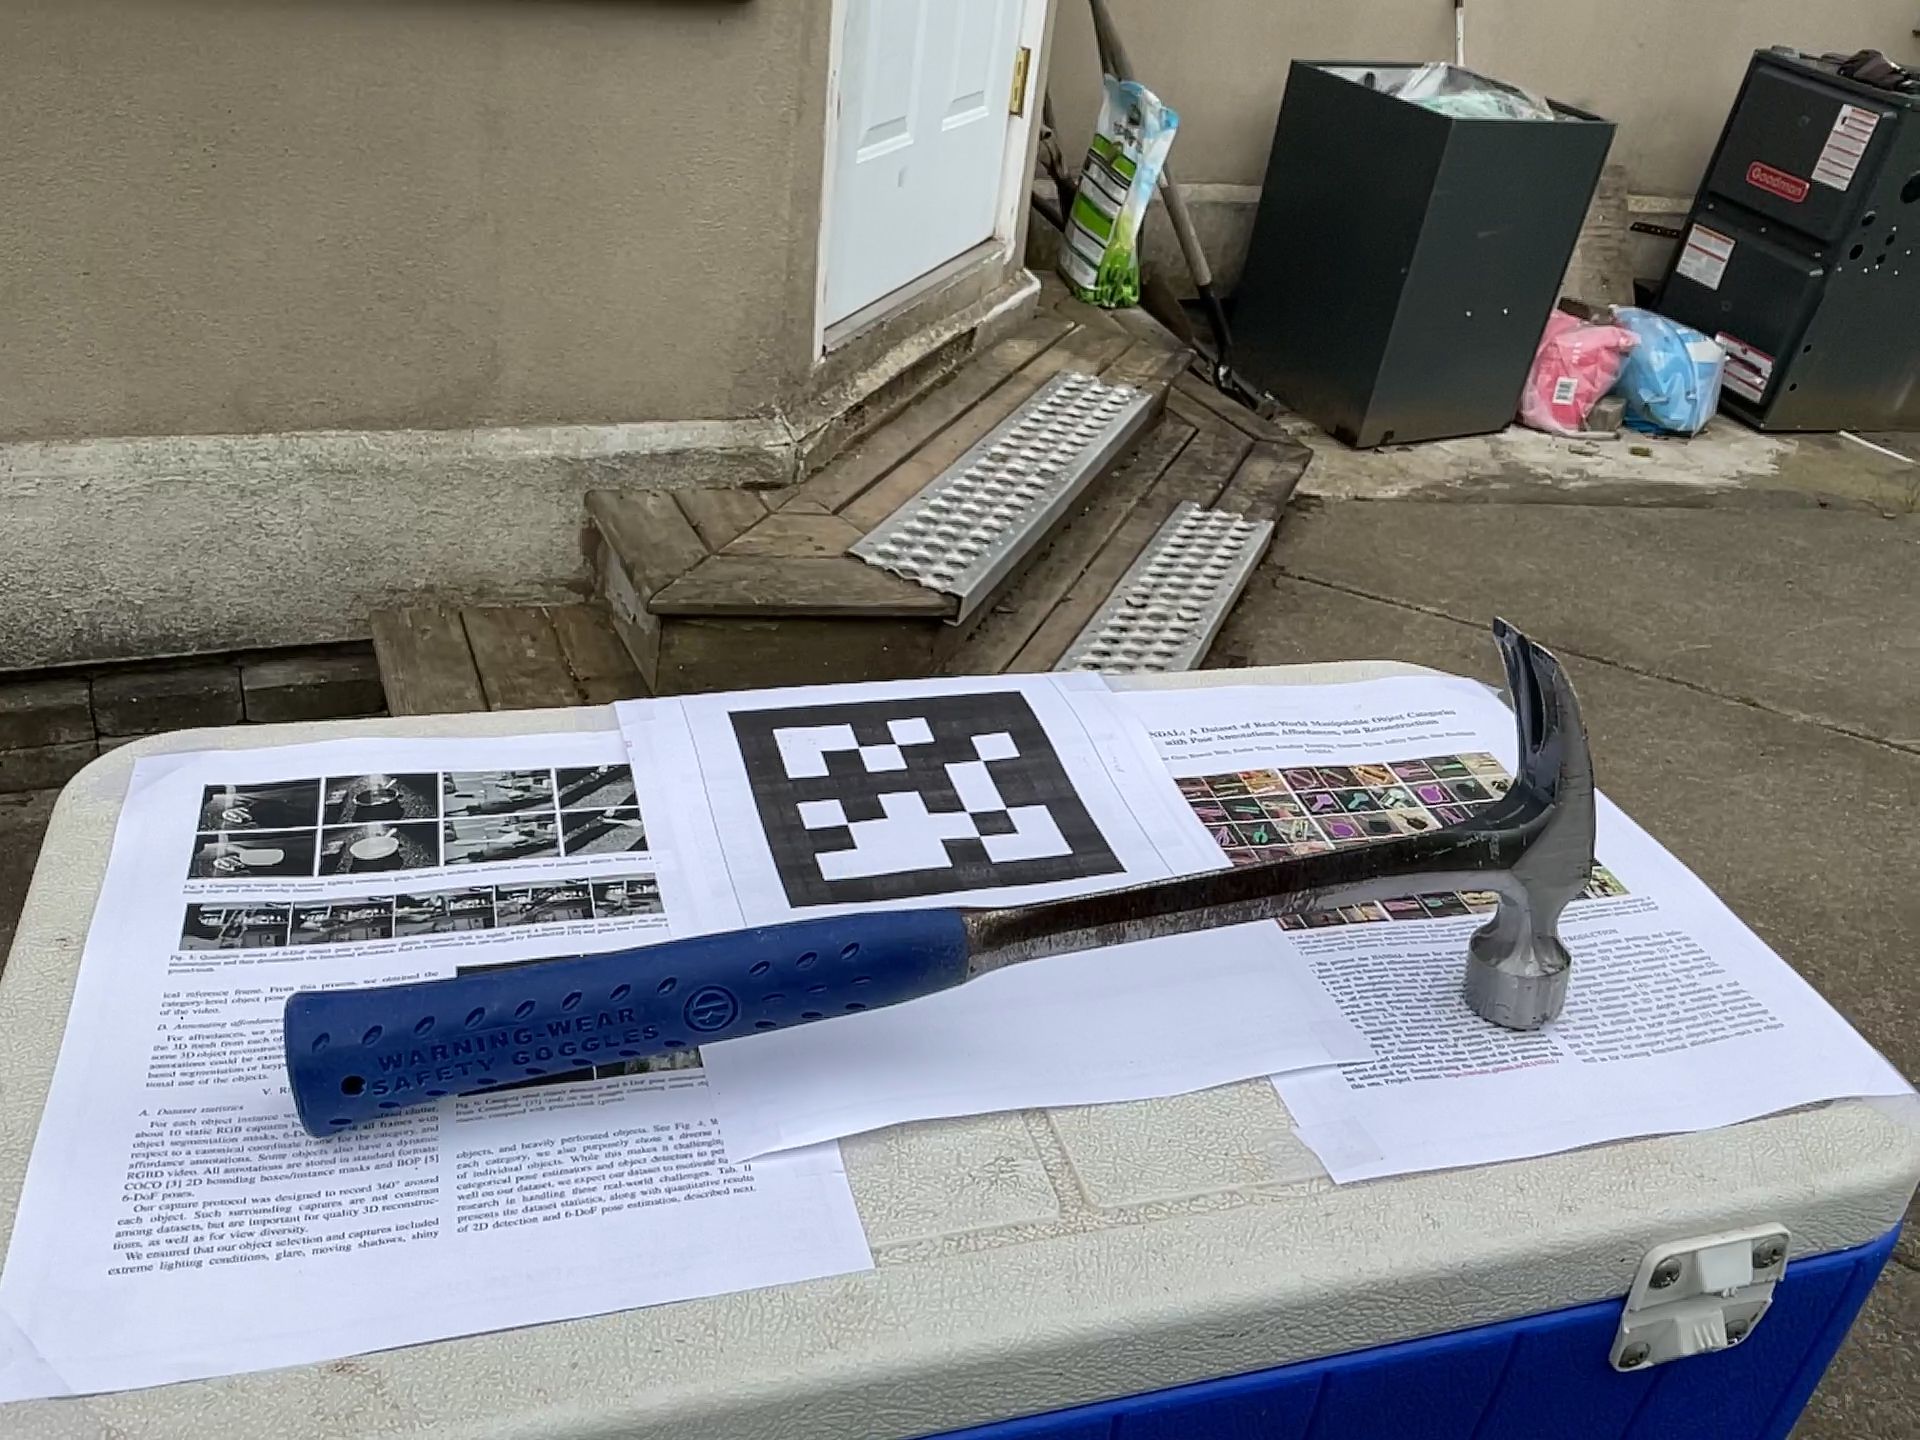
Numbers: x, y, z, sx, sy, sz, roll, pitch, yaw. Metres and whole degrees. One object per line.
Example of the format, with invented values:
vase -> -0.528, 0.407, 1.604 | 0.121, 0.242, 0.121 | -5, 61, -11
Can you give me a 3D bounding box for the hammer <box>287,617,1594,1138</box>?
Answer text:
hammer -> 0.010, 0.062, 0.489 | 0.405, 0.144, 0.035 | -8, 27, -12
